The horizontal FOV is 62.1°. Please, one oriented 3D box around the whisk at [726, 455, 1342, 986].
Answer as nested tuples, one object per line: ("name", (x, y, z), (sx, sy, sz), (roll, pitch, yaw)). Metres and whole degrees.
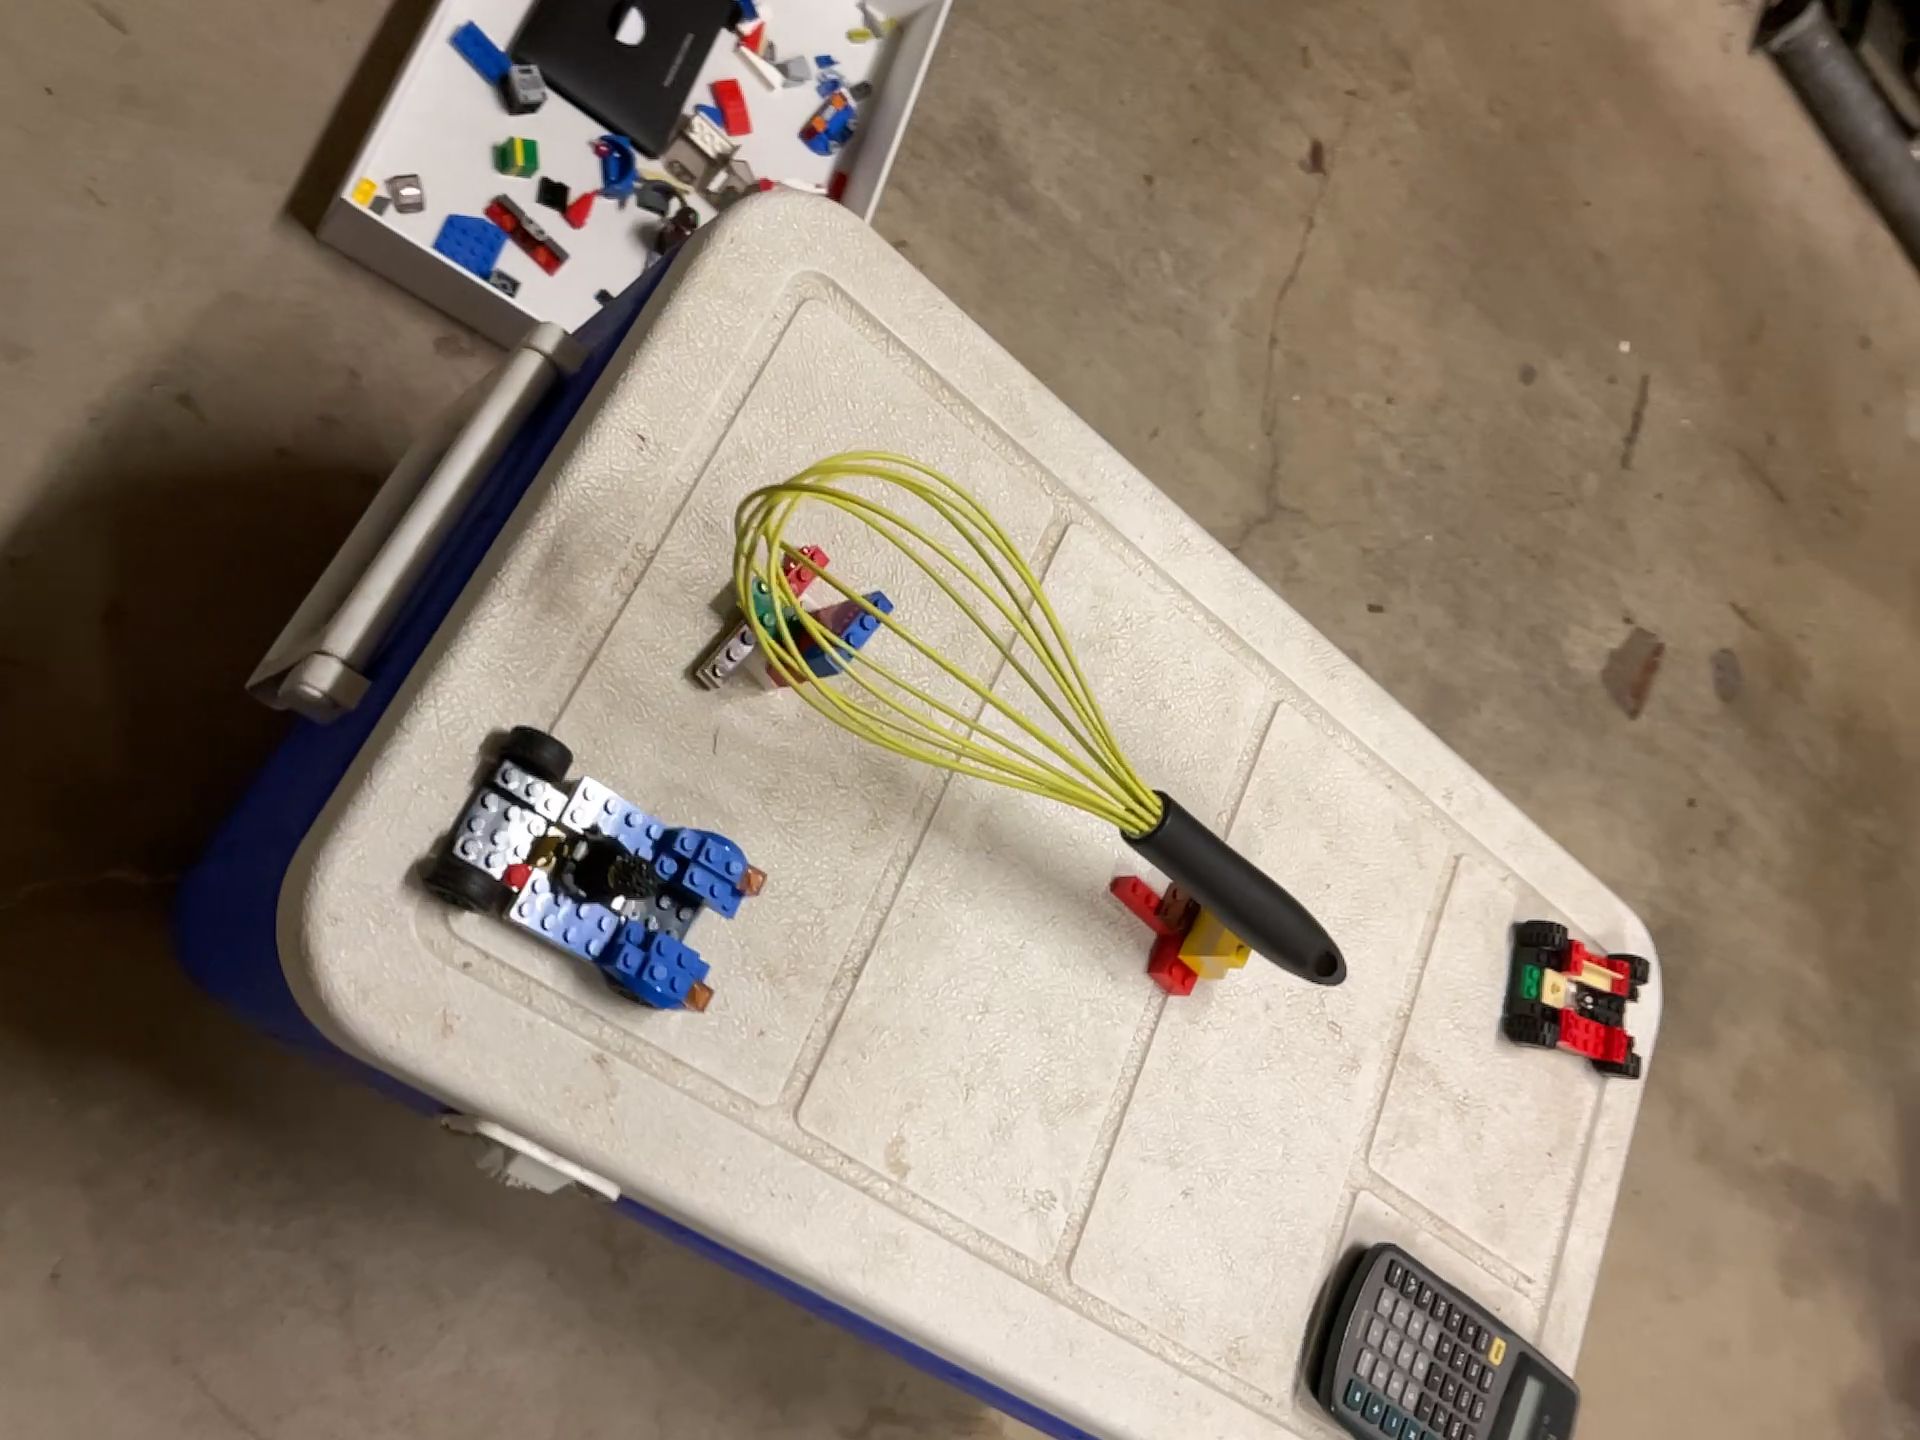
("whisk", (0.042, 0.016, 0.529), (0.080, 0.067, 0.311), (-40, 125, 16))
